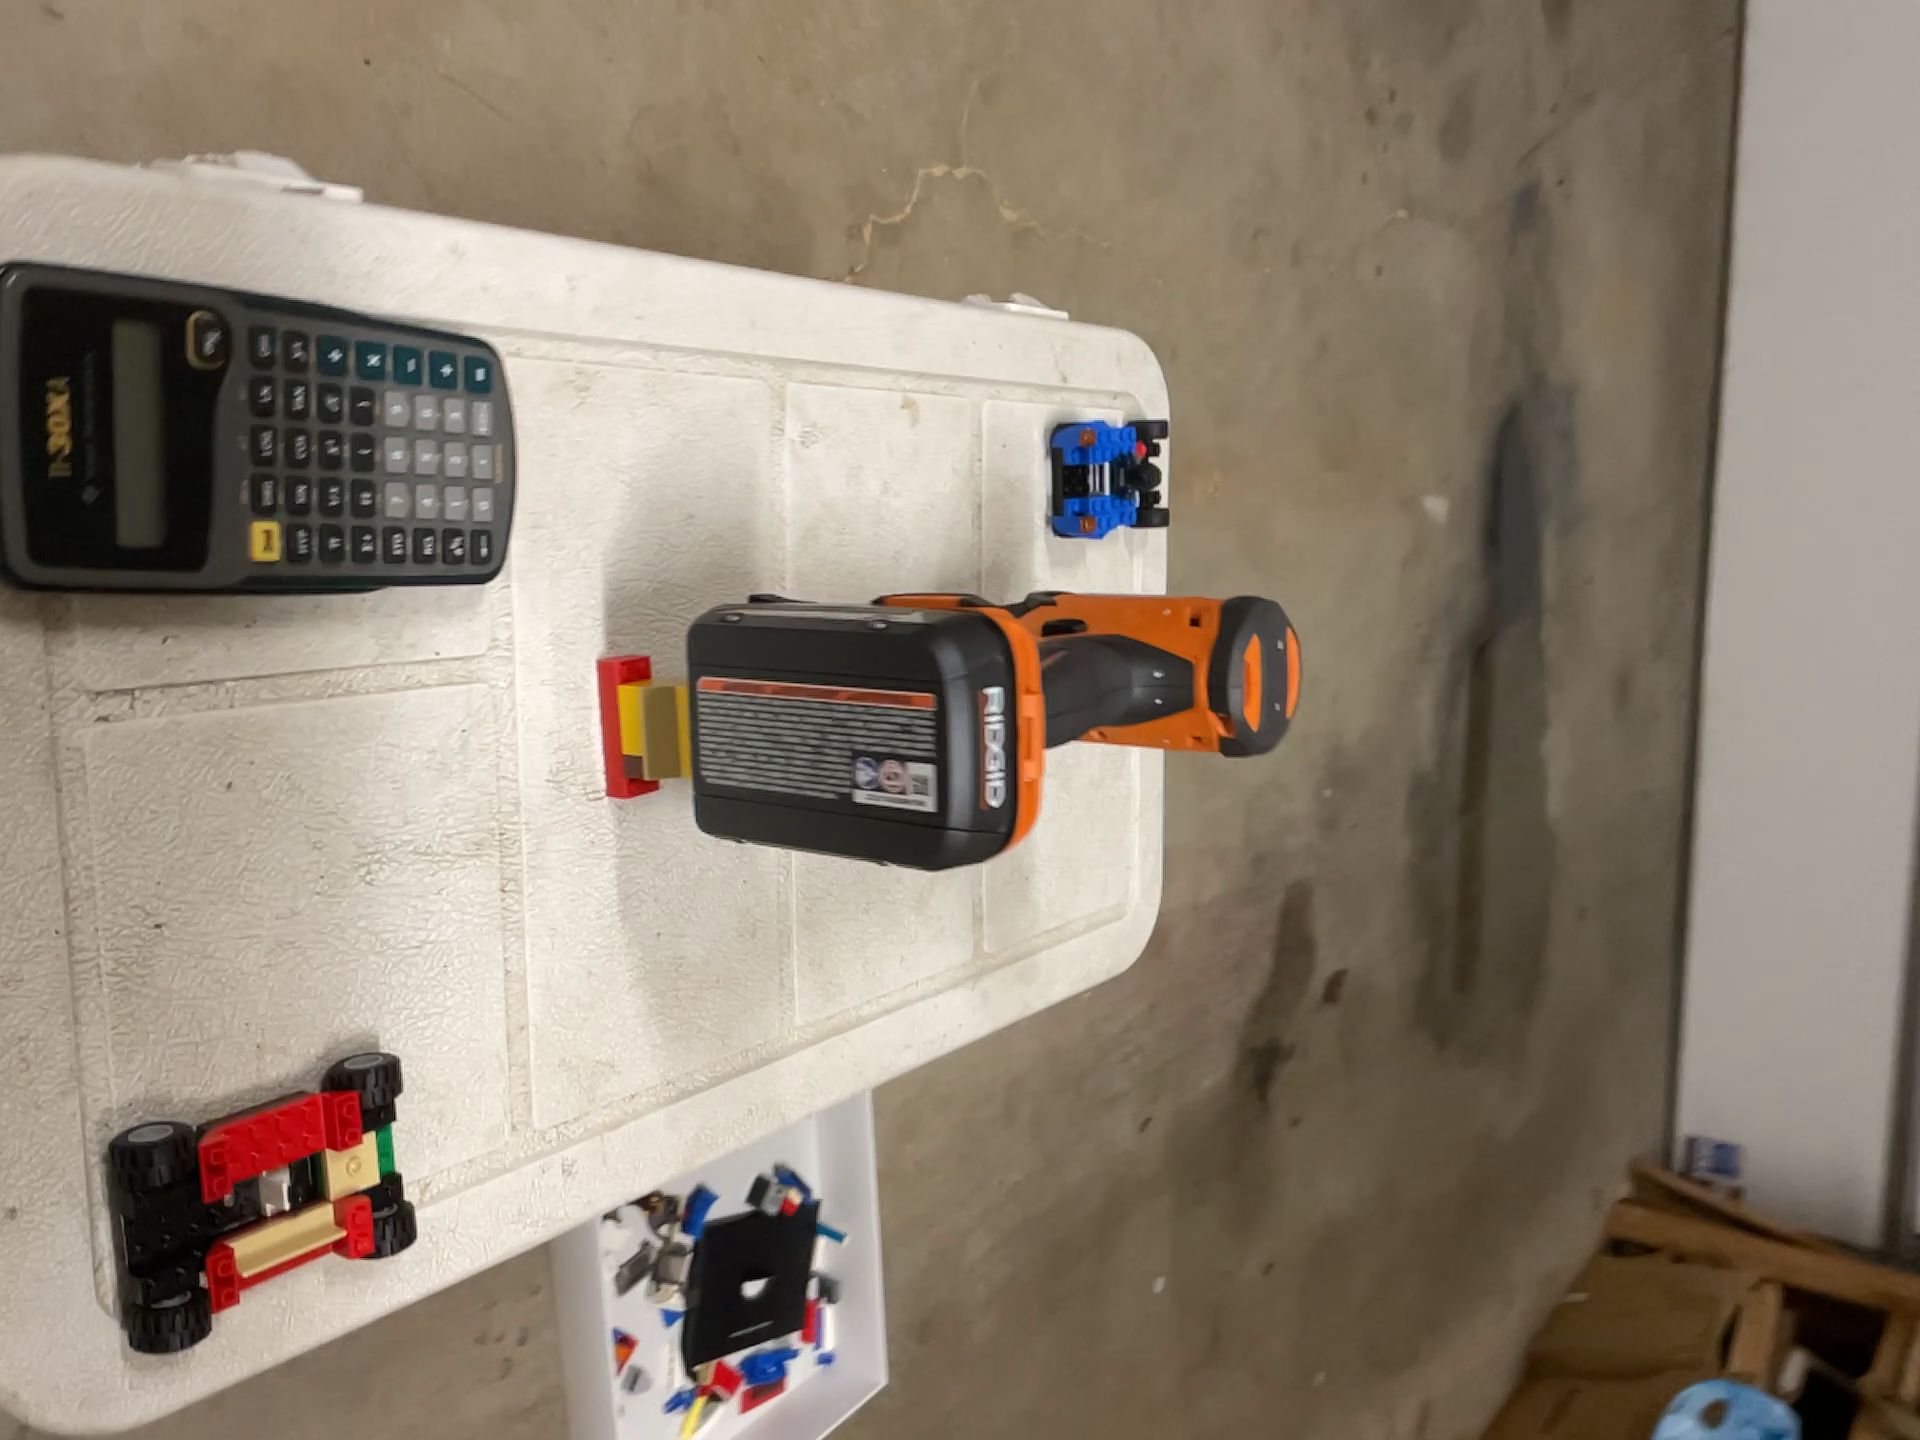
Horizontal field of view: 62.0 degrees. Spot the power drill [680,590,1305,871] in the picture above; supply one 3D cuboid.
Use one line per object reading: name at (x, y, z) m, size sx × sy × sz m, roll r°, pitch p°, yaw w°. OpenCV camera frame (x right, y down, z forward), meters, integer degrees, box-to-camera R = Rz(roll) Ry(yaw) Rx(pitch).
power drill at (0.005, -0.010, 0.579) m, size 0.226 × 0.164 × 0.084 m, roll -13°, pitch 104°, yaw -53°
